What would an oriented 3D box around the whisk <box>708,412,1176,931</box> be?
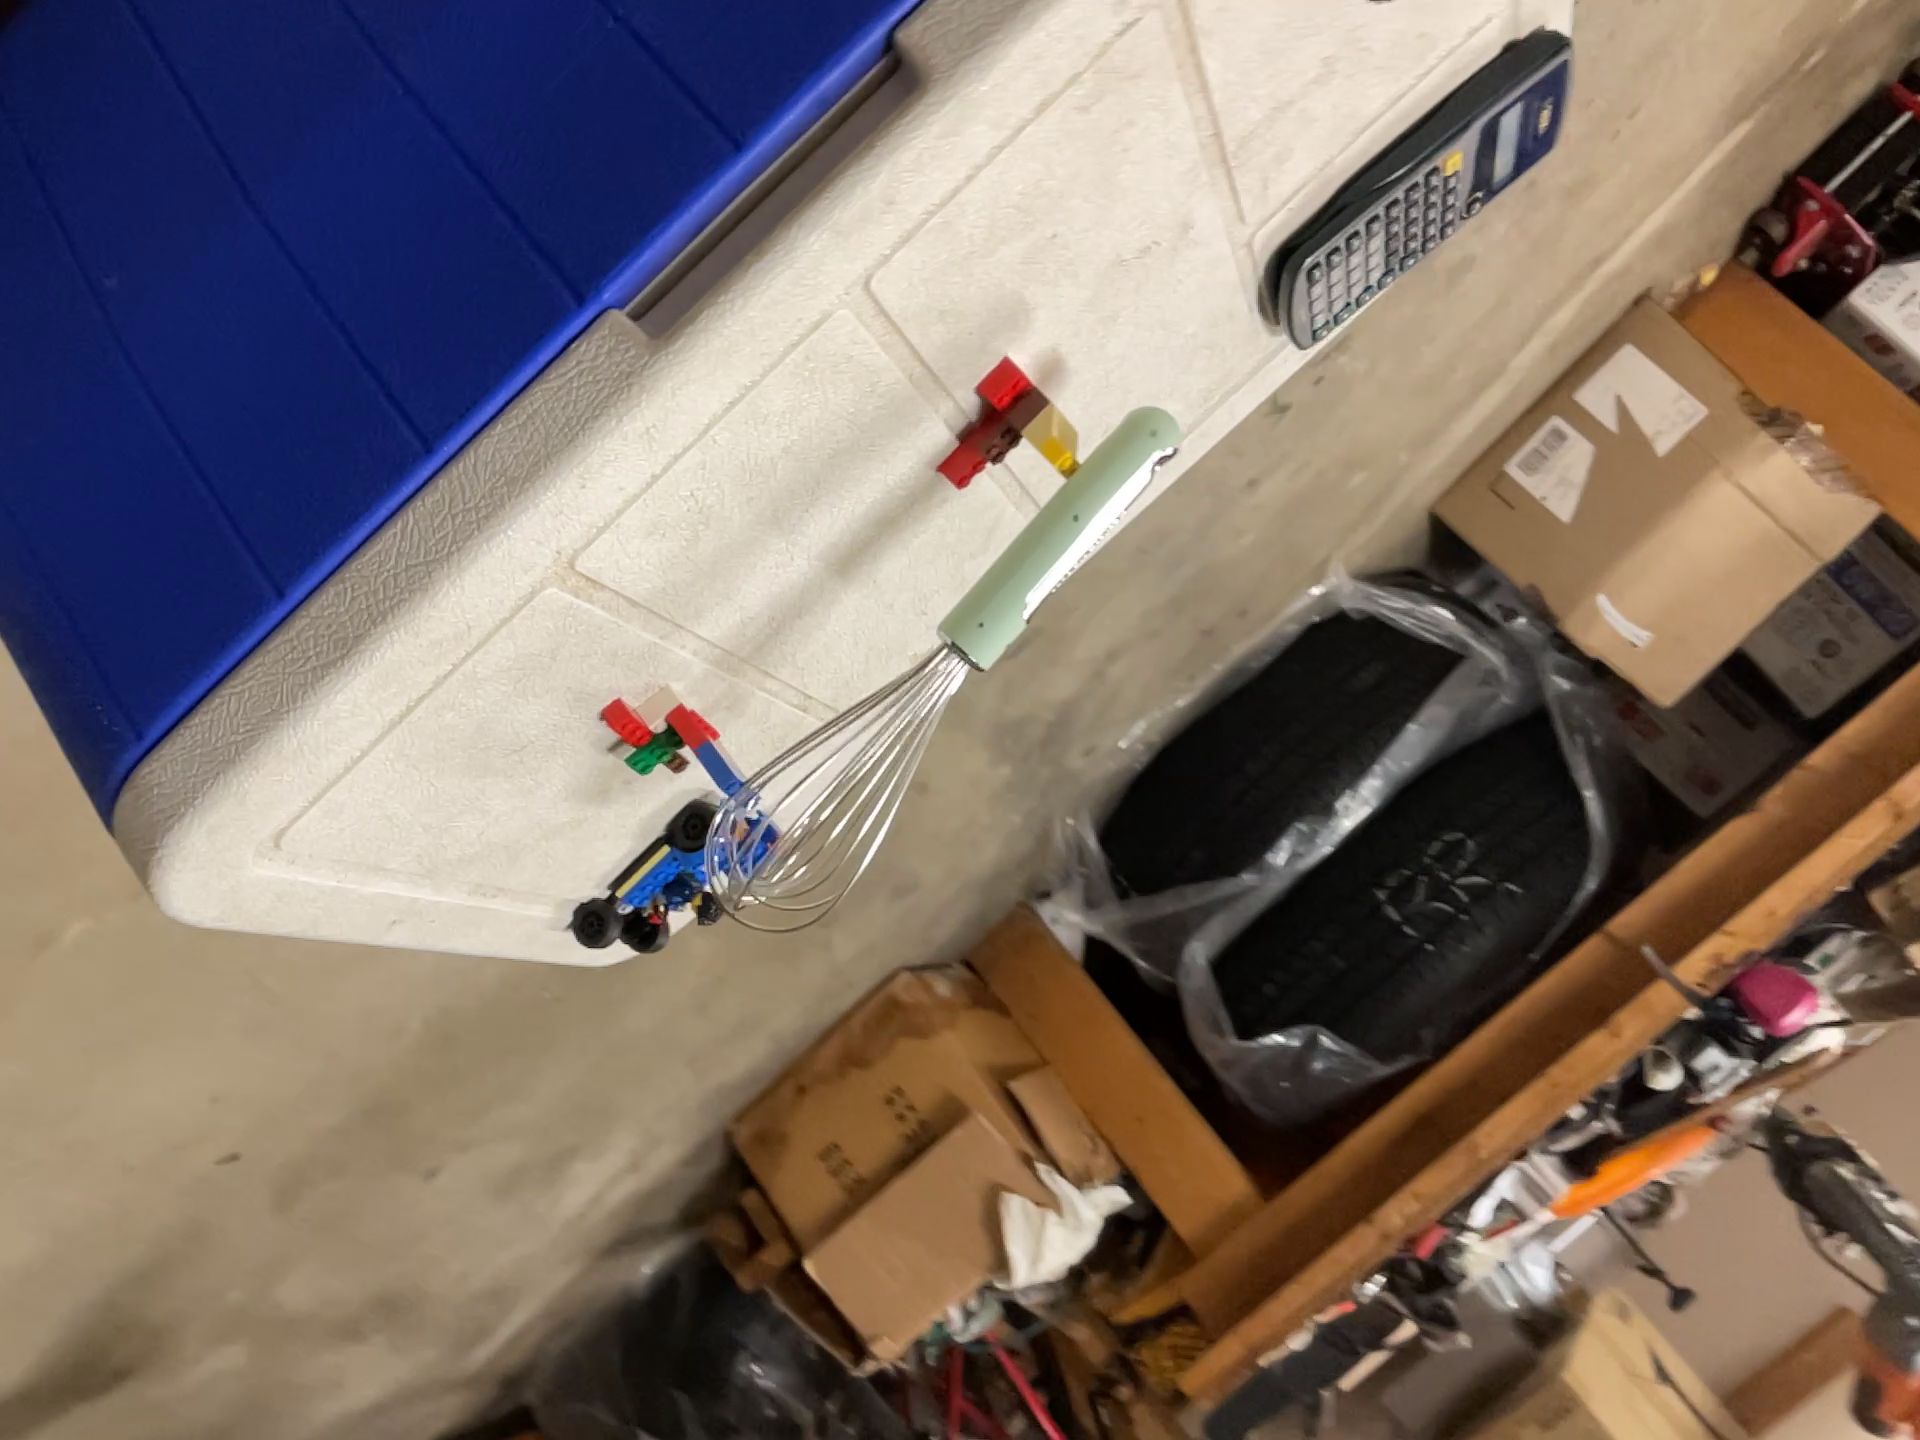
[{"bbox_3d":[-0.005,-0.020,0.601,0.246,0.059,0.058,-48,166,2],"label":"whisk"}]
